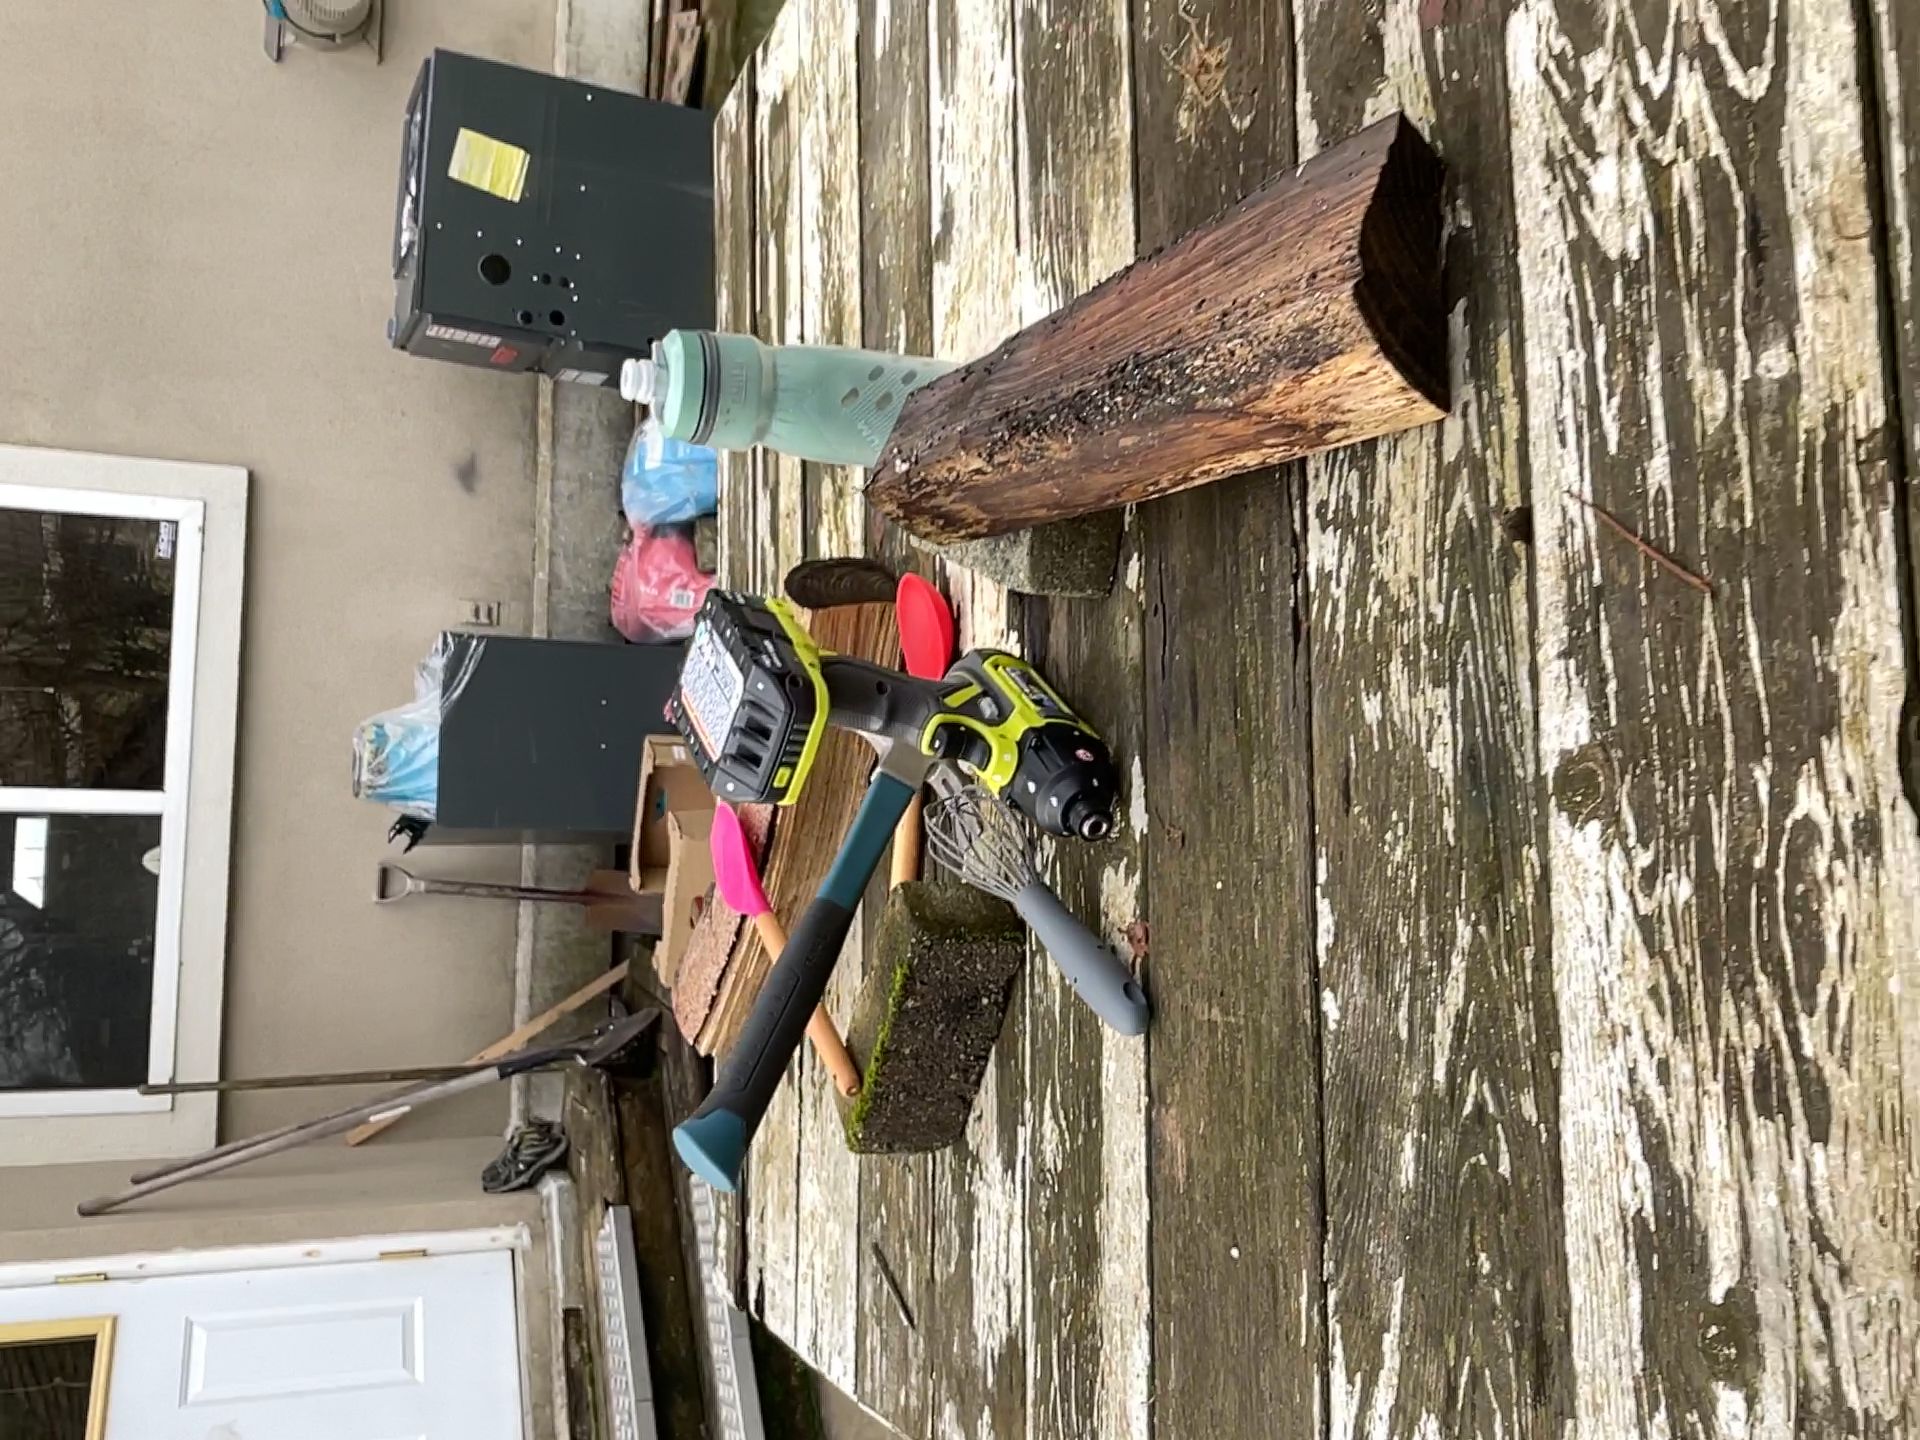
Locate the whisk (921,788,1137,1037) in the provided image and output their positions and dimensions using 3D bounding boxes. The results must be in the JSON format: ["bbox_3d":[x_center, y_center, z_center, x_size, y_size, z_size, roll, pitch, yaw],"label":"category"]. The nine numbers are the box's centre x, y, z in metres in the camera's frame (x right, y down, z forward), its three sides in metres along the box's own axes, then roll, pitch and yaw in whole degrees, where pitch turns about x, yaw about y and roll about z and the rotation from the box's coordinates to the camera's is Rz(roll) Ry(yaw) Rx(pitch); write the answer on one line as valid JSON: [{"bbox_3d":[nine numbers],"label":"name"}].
[{"bbox_3d":[0.037,0.106,0.910,0.239,0.055,0.055,-132,41,-54],"label":"whisk"}]

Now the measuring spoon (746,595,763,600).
[{"bbox_3d":[-0.125,-0.034,1.141,0.129,0.021,0.042,62,147,13],"label":"measuring spoon"}]

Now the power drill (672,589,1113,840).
[{"bbox_3d":[-0.030,0.004,0.869,0.171,0.223,0.080,52,126,55],"label":"power drill"}]

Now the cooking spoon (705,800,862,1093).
[{"bbox_3d":[-0.132,0.154,1.127,0.319,0.017,0.068,50,132,51],"label":"cooking spoon"}]

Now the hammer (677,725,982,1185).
[{"bbox_3d":[-0.084,0.127,0.976,0.331,0.128,0.033,-64,5,-37],"label":"hammer"}]

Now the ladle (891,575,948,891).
[{"bbox_3d":[-0.036,0.056,1.119,0.069,0.031,0.315,-157,69,-63],"label":"ladle"}]
